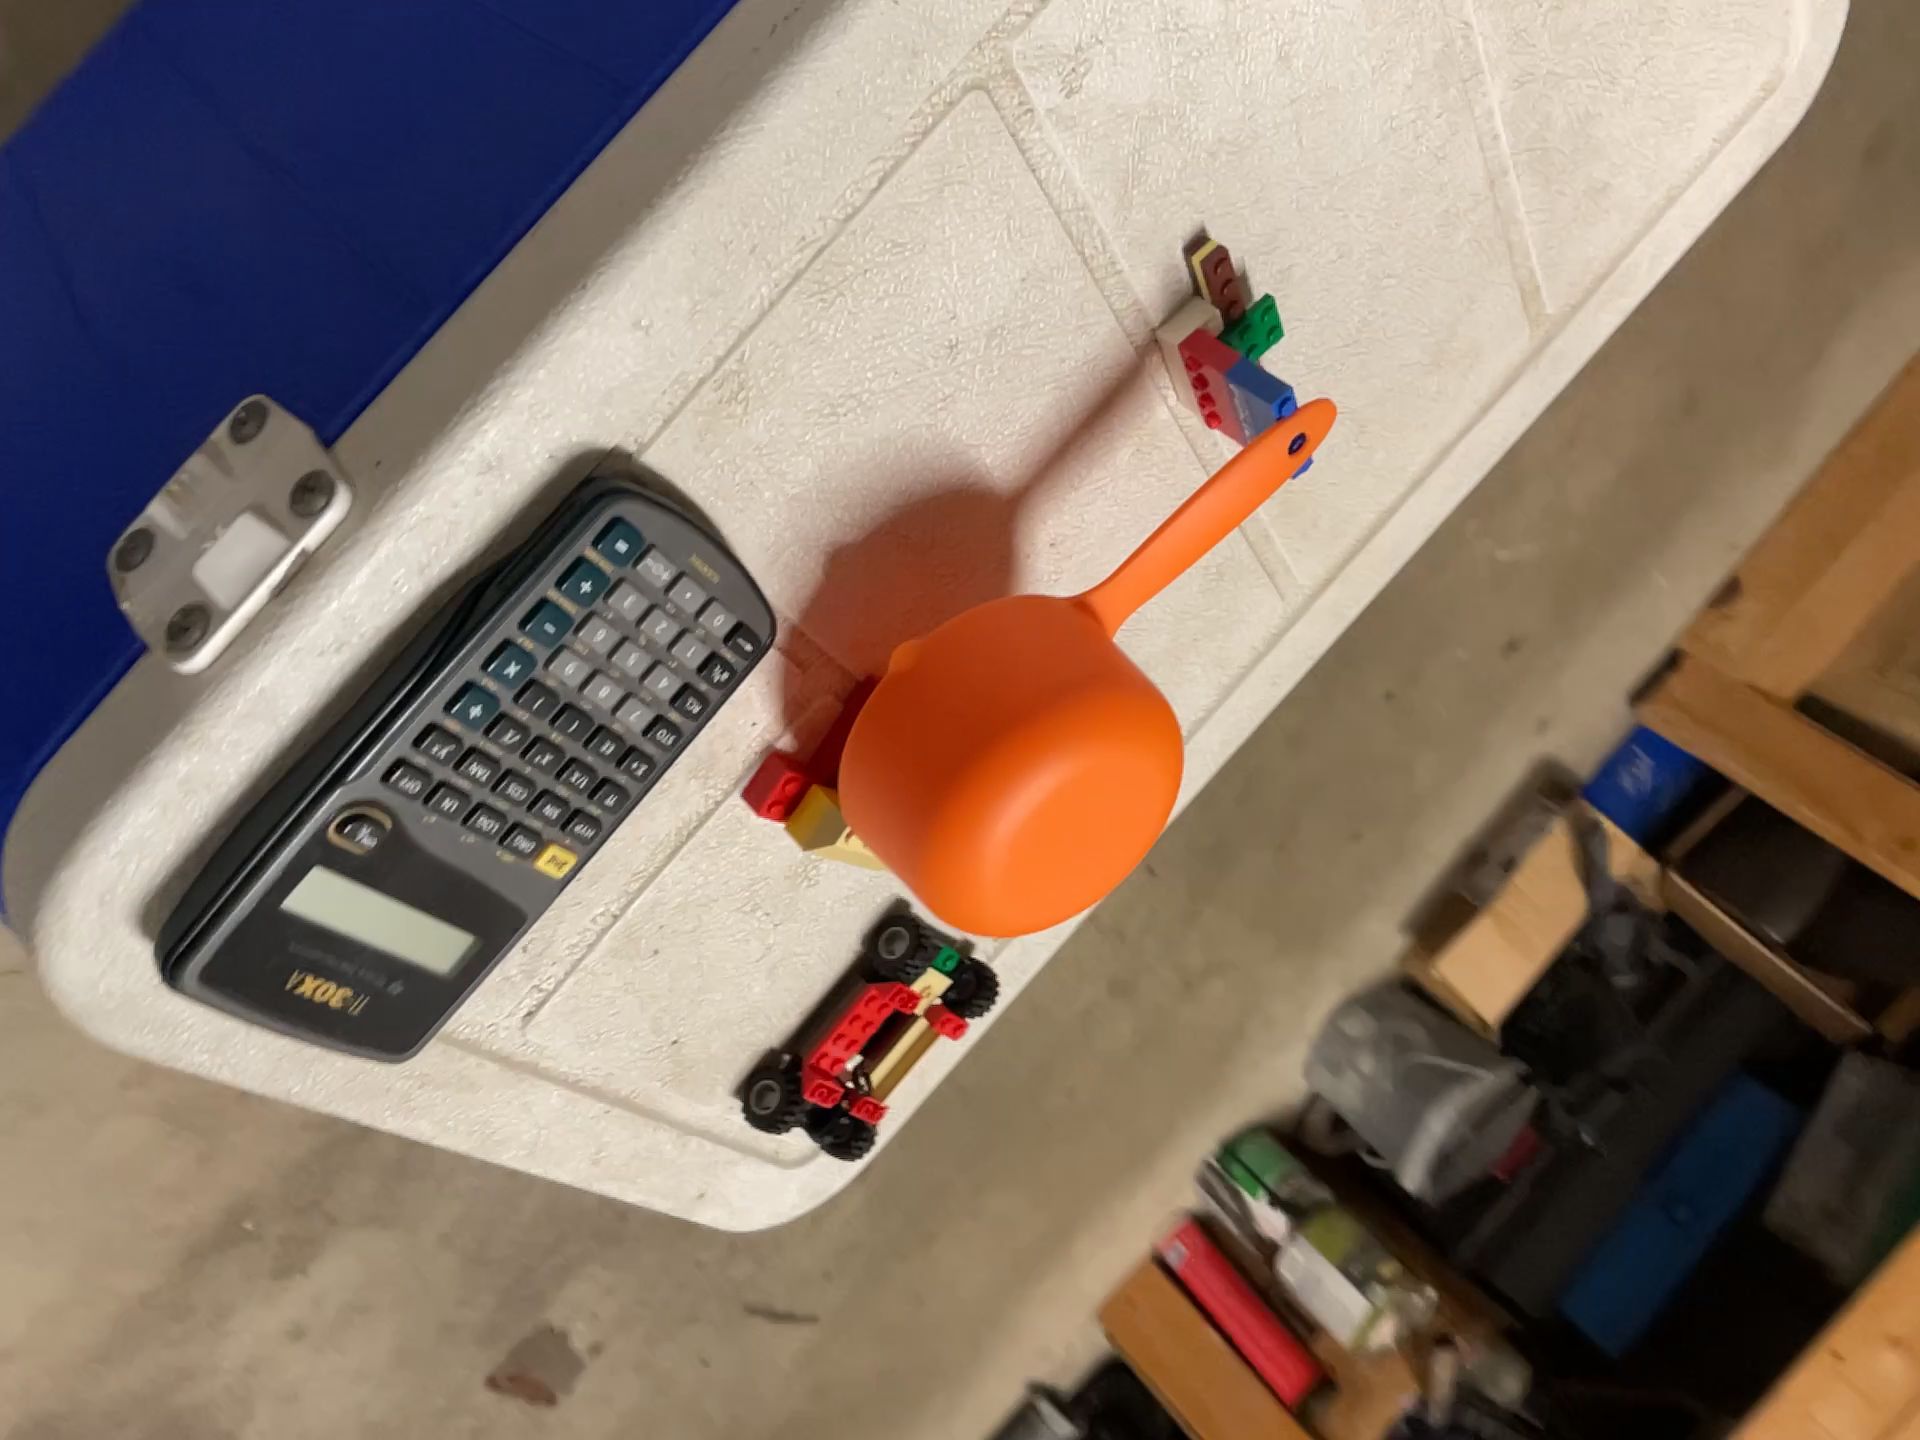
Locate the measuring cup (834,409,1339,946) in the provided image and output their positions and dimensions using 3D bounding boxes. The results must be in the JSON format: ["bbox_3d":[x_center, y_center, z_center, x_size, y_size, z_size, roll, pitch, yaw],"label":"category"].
[{"bbox_3d":[0.048,-0.011,0.419,0.173,0.052,0.095,-42,143,1],"label":"measuring cup"}]
